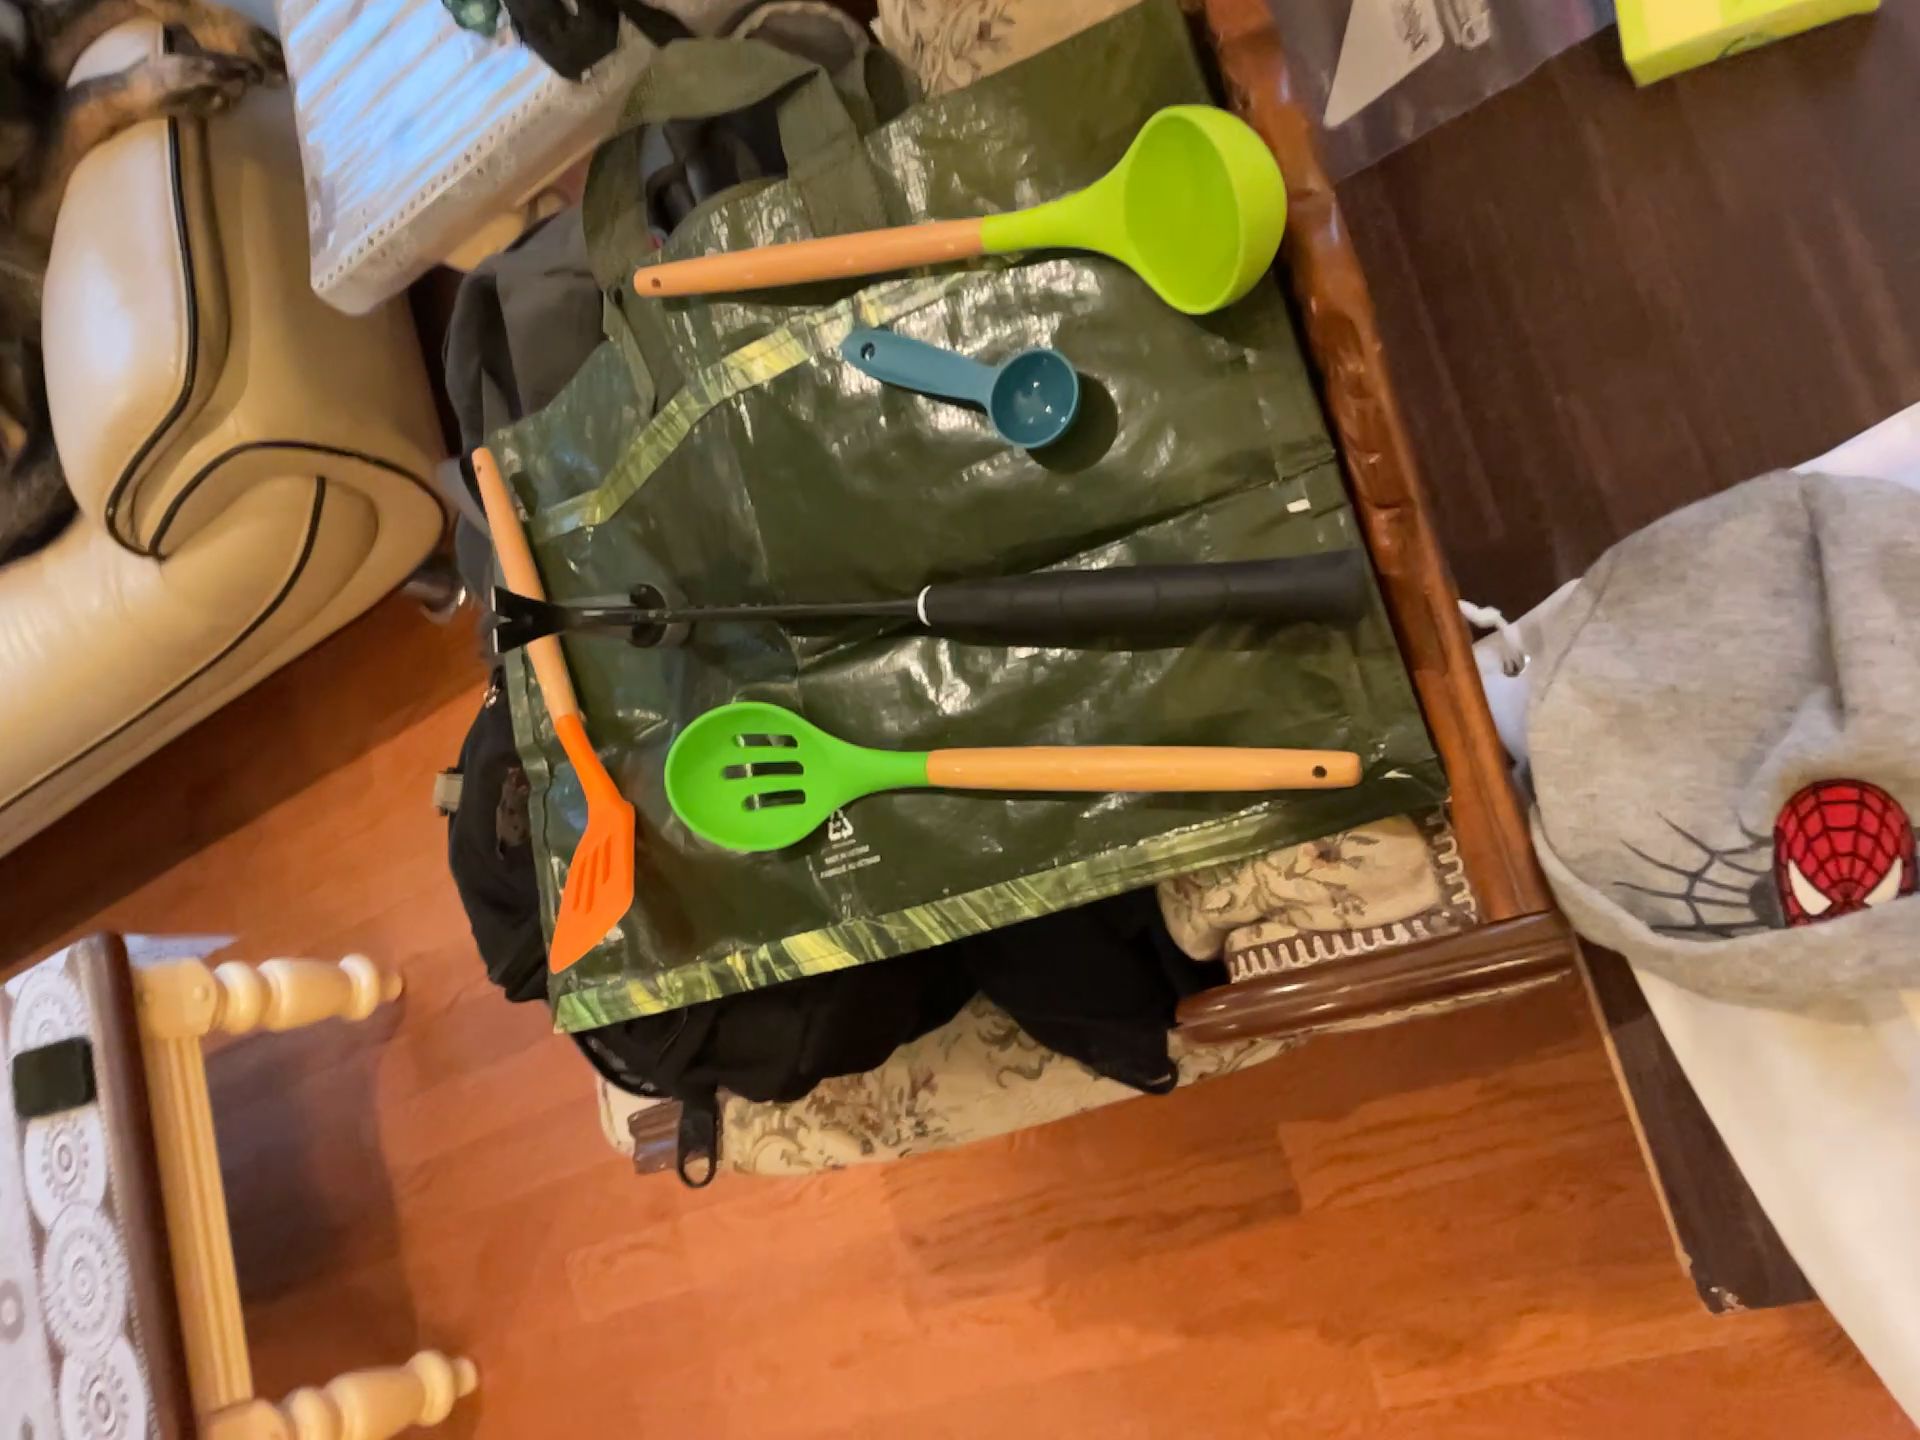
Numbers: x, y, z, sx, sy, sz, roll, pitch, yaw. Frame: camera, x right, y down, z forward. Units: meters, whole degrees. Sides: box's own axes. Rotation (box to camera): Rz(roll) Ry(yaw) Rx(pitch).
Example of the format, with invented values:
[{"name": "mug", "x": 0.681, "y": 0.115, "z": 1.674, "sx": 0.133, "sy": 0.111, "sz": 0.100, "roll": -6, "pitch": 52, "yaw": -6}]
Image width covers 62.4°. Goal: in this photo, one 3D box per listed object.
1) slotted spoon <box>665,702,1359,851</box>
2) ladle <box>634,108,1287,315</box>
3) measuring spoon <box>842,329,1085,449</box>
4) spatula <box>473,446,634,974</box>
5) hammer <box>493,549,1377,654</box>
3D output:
[{"name": "slotted spoon", "x": 0.012, "y": 0.023, "z": 0.683, "sx": 0.314, "sy": 0.031, "sz": 0.070, "roll": -1, "pitch": 100, "yaw": 25}, {"name": "ladle", "x": -0.017, "y": -0.202, "z": 0.680, "sx": 0.320, "sy": 0.062, "sz": 0.078, "roll": 1, "pitch": 112, "yaw": 27}, {"name": "measuring spoon", "x": 0.002, "y": -0.148, "z": 0.687, "sx": 0.129, "sy": 0.021, "sz": 0.042, "roll": 24, "pitch": 98, "yaw": 32}, {"name": "spatula", "x": -0.231, "y": -0.021, "z": 0.873, "sx": 0.081, "sy": 0.041, "sz": 0.323, "roll": -38, "pitch": 63, "yaw": 34}, {"name": "hammer", "x": -0.022, "y": -0.051, "z": 0.696, "sx": 0.409, "sy": 0.149, "sz": 0.036, "roll": 0, "pitch": 95, "yaw": 27}]
